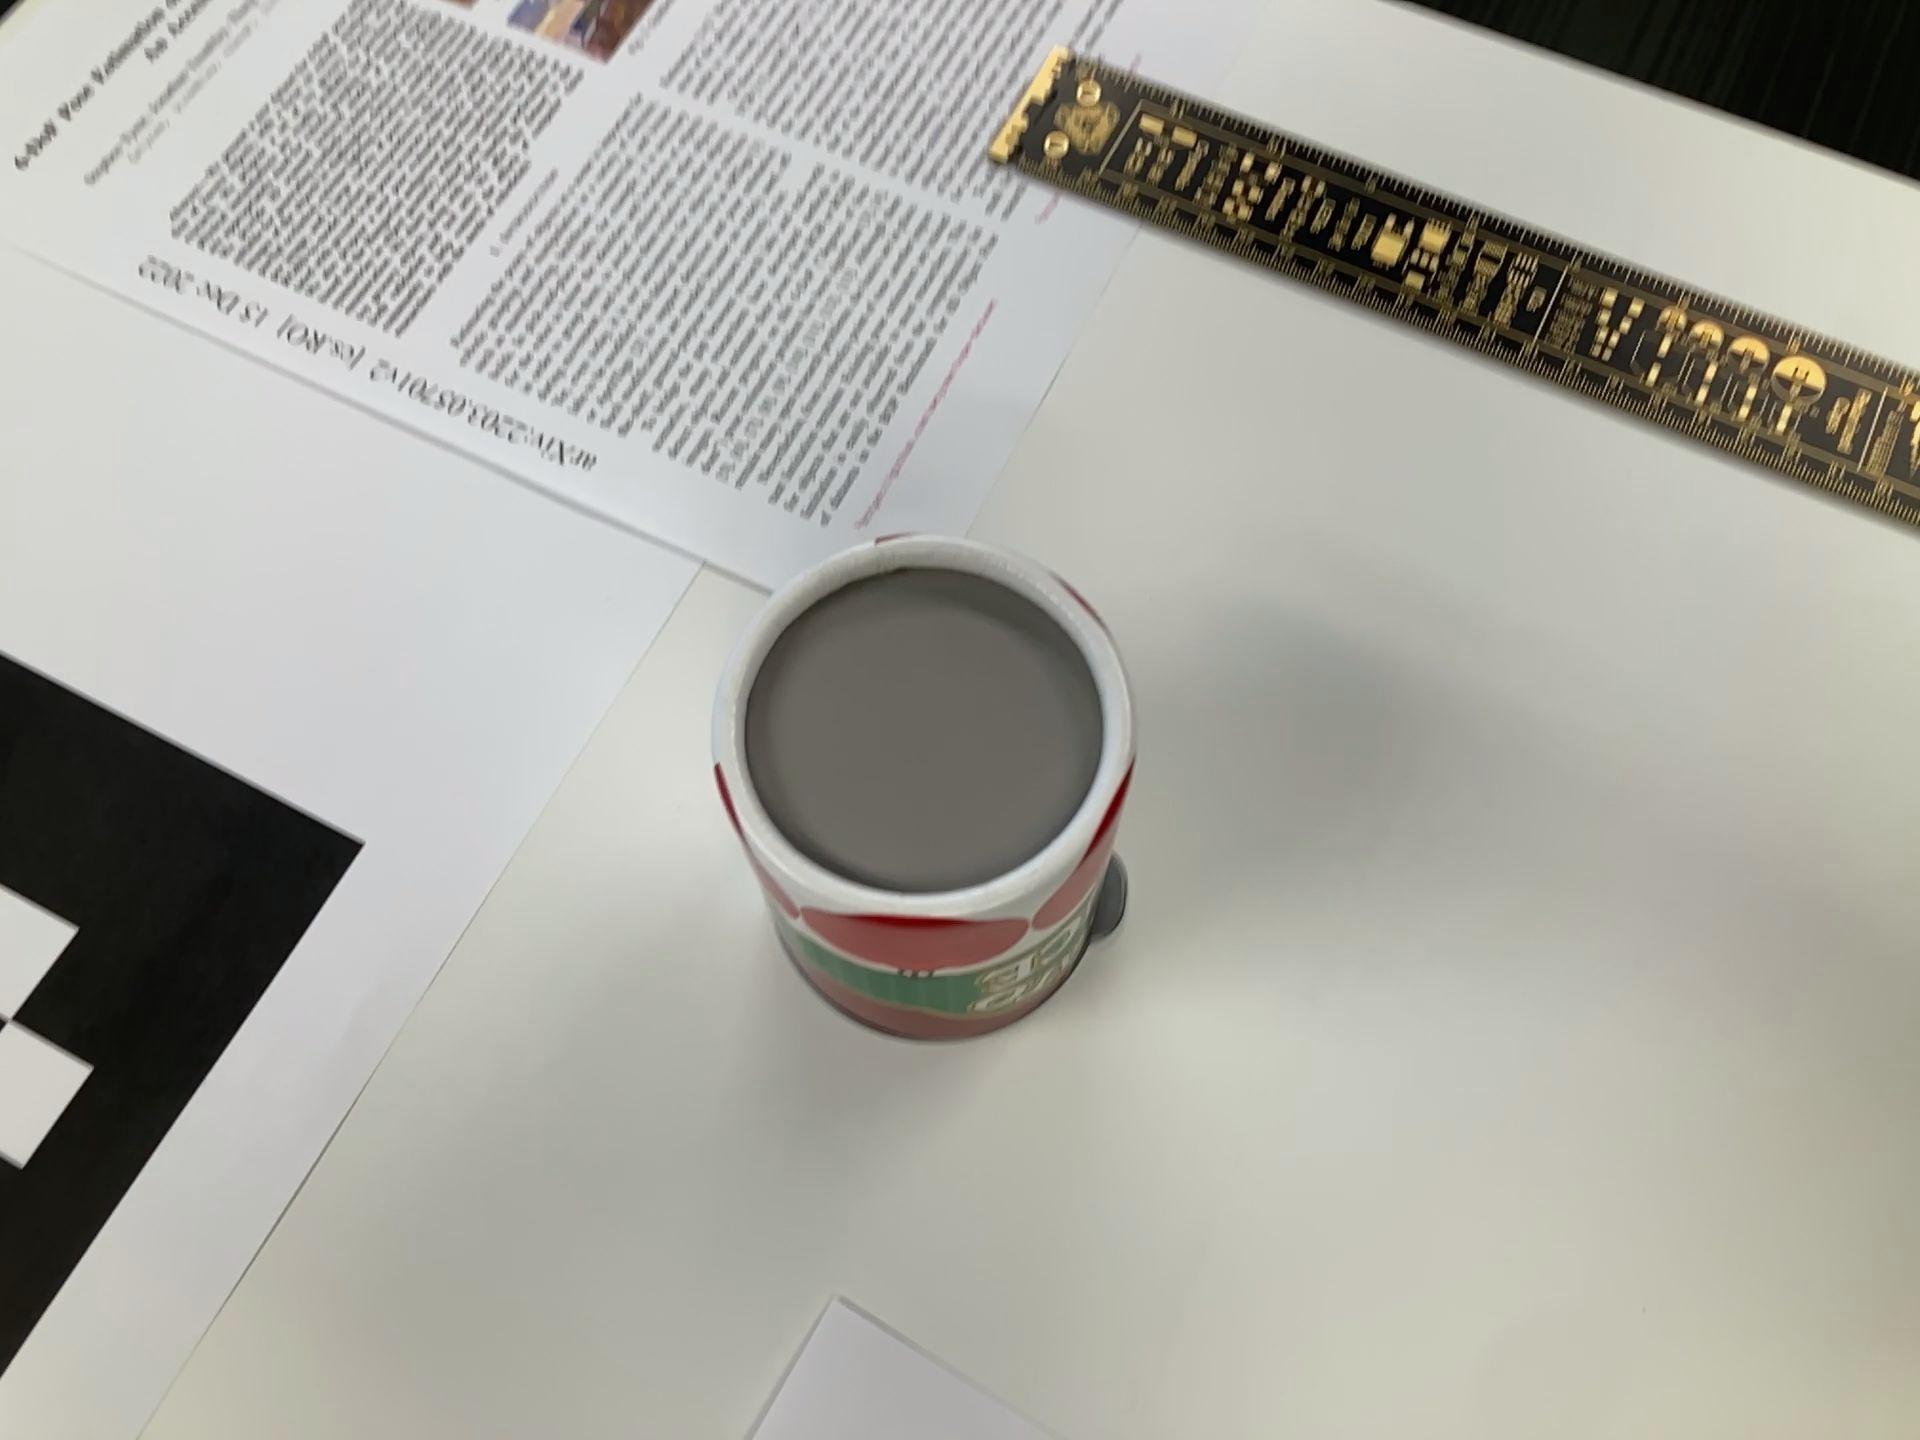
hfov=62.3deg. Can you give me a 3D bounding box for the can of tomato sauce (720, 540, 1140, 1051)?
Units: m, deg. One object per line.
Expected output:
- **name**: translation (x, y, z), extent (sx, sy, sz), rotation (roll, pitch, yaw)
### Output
- **can of tomato sauce**: translation (-0.004, 0.017, 0.282), extent (0.071, 0.083, 0.071), rotation (0, 66, -1)
